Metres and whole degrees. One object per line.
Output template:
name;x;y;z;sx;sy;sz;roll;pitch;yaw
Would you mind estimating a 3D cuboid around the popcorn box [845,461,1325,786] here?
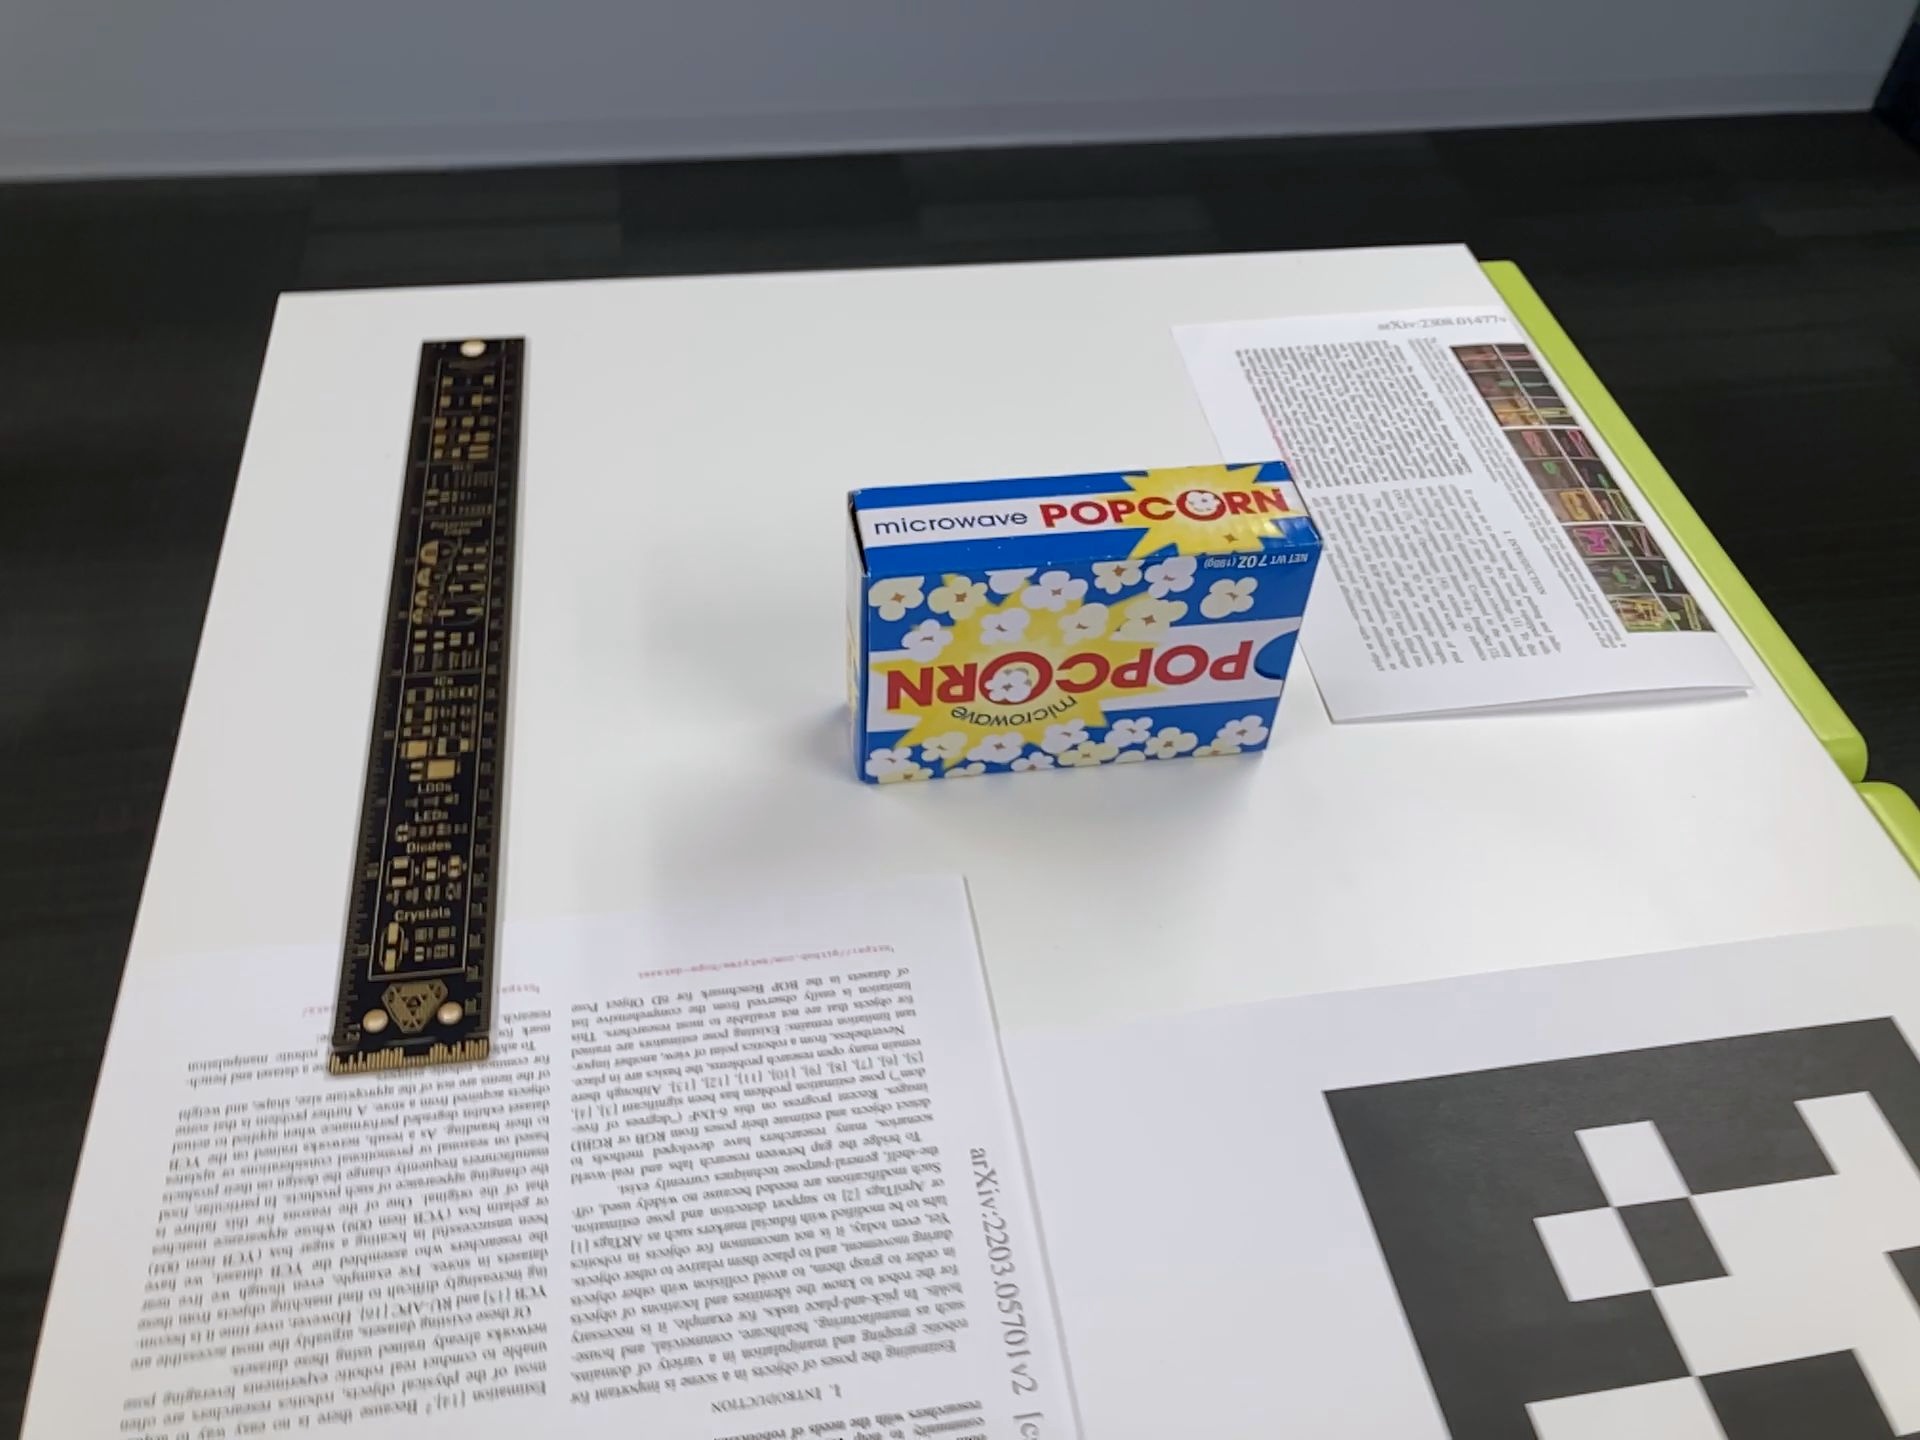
popcorn box;0.031;-0.027;0.457;0.126;0.085;0.038;-5;46;-8
